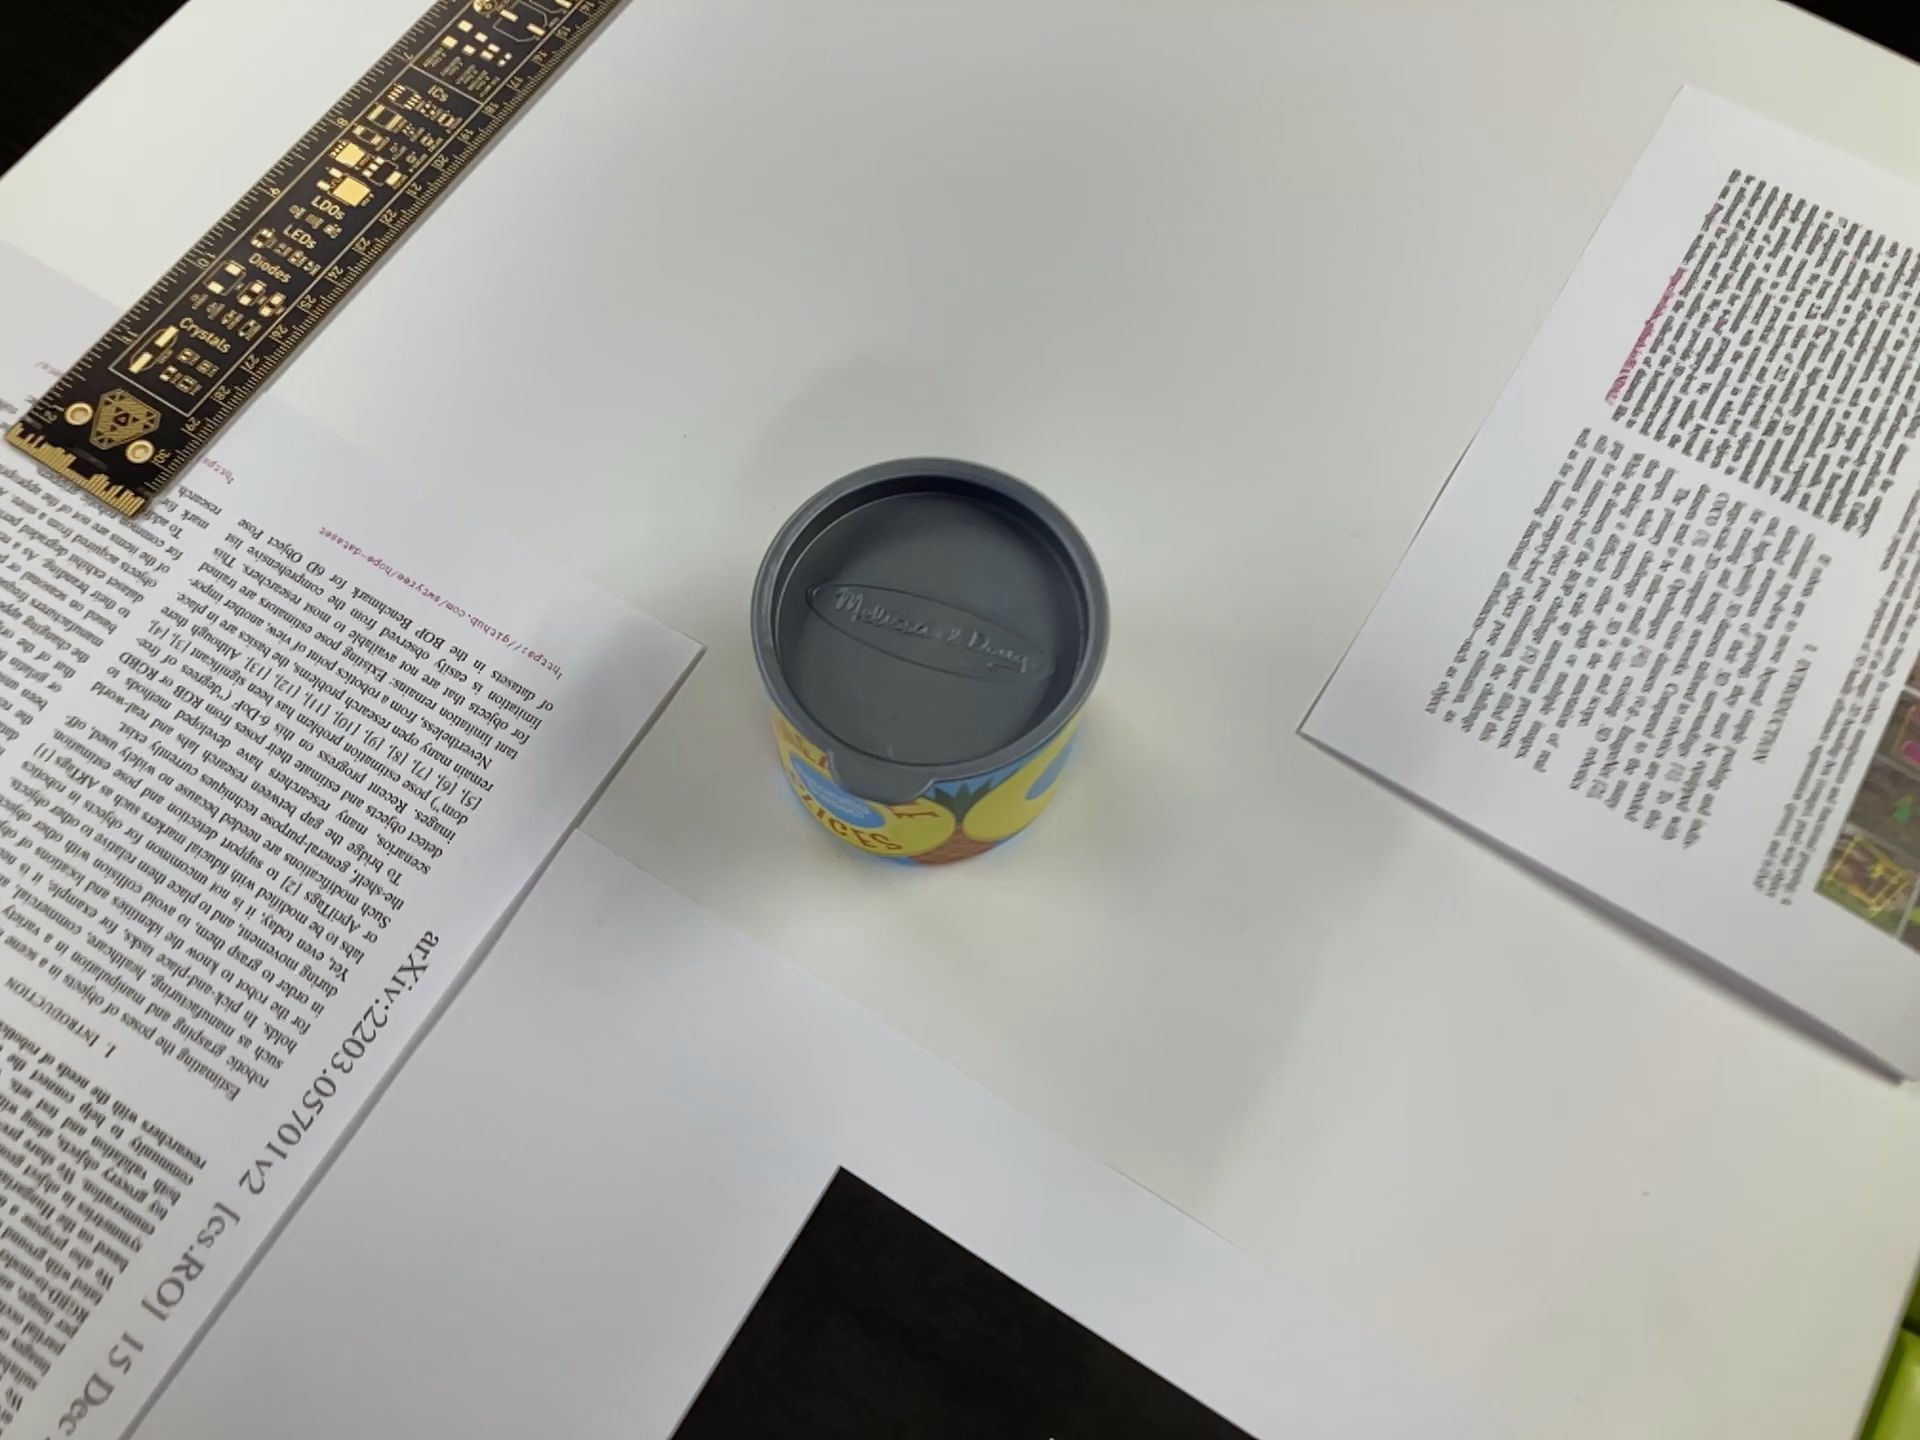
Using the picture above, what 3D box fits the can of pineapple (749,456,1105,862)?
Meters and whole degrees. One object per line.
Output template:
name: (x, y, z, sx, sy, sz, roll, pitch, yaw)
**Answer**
can of pineapple: (-0.008, -0.009, 0.319, 0.071, 0.058, 0.071, 0, 68, -1)
